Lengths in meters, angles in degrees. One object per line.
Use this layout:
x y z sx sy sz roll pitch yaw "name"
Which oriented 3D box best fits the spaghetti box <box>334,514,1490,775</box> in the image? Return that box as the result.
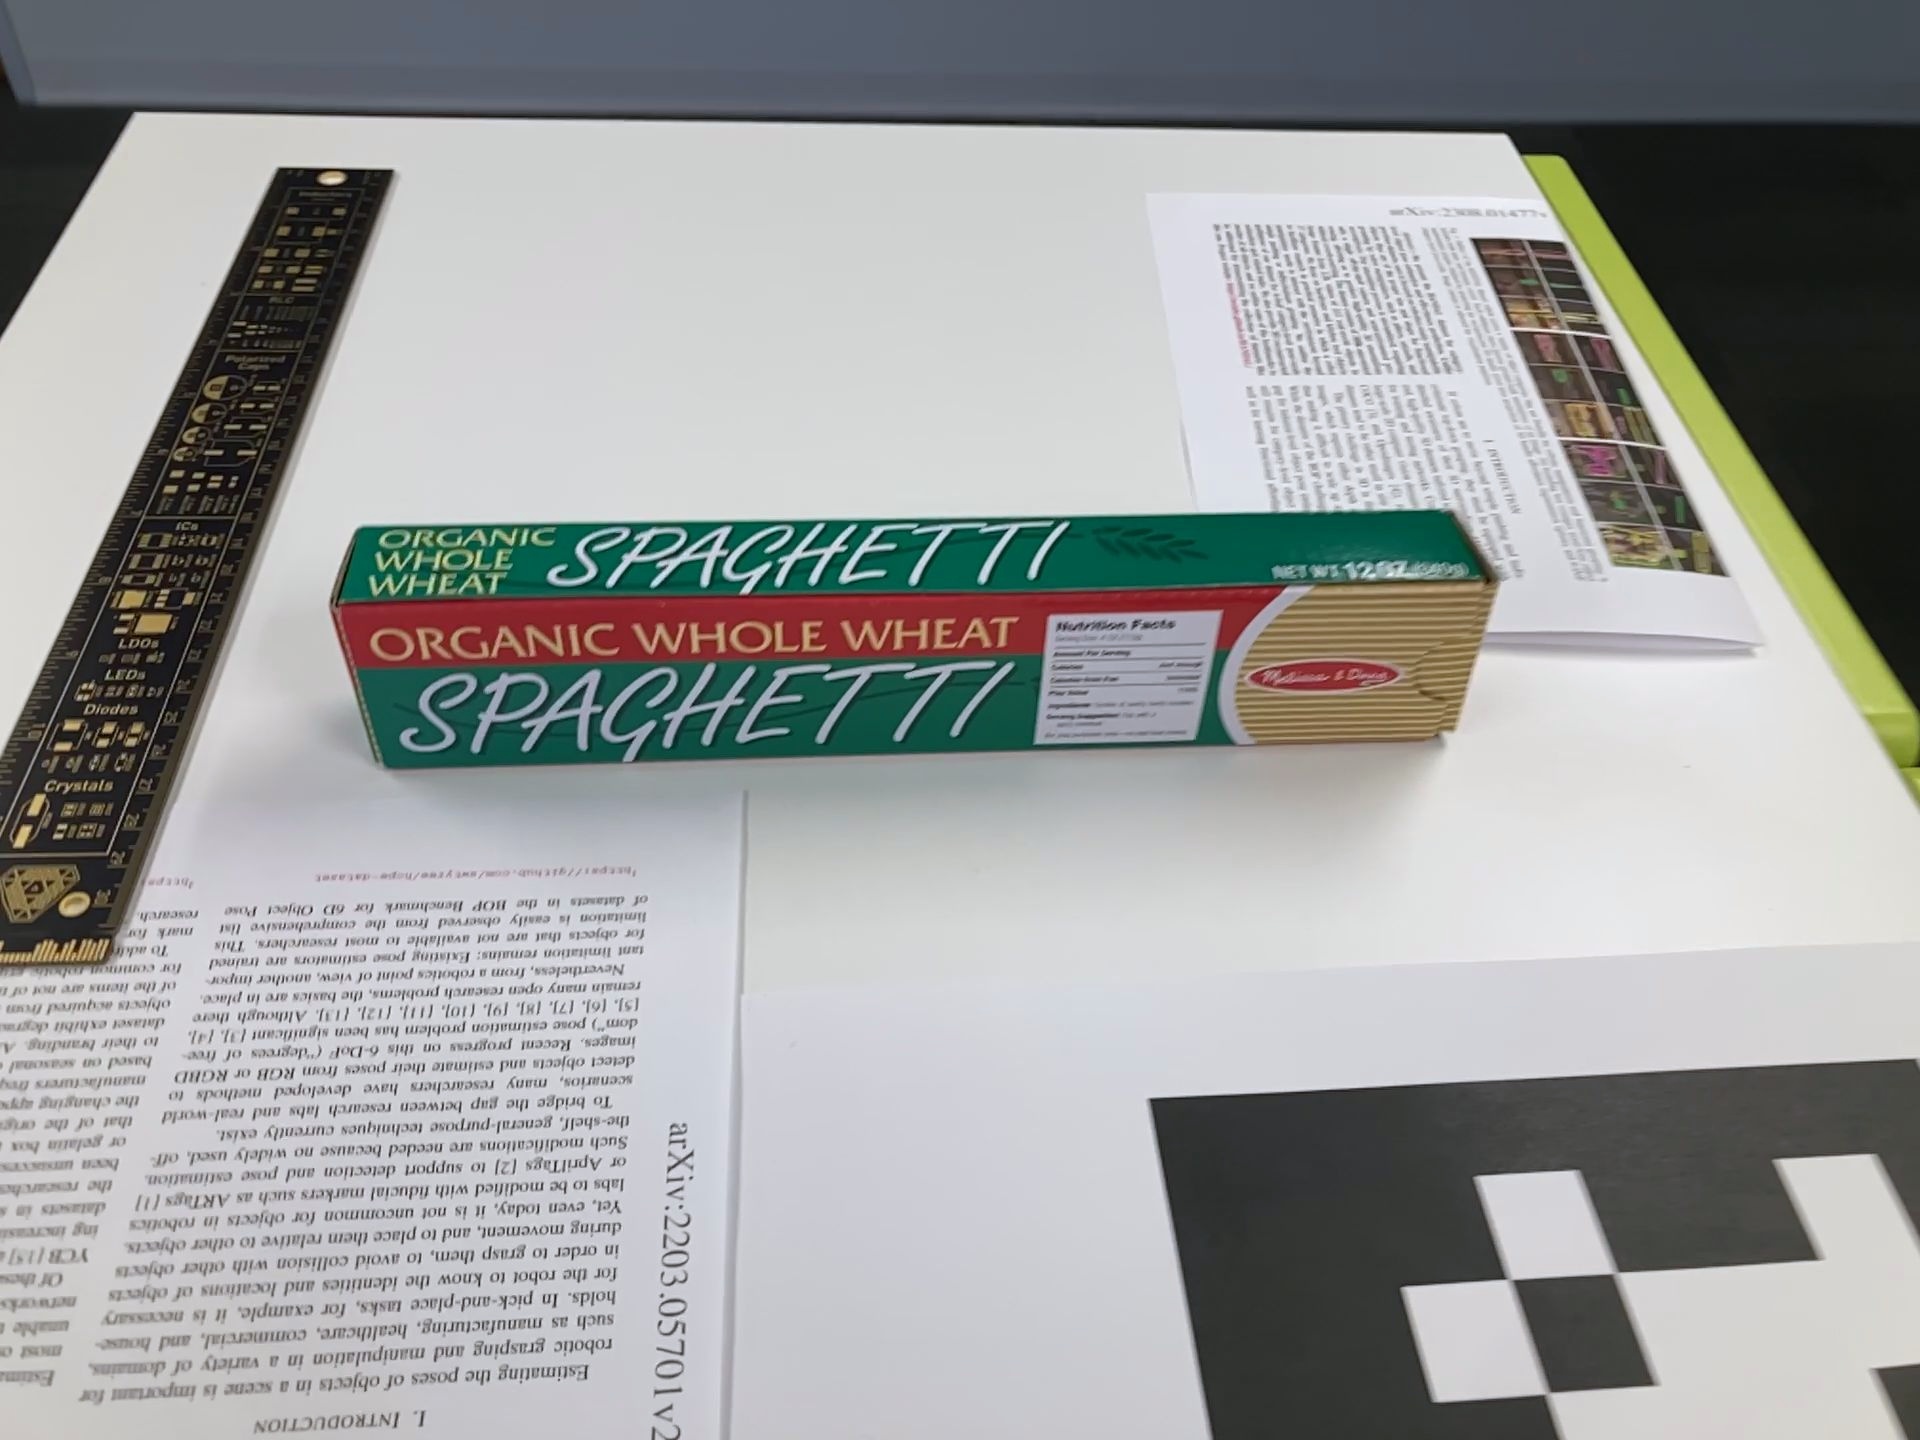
-0.009 -0.018 0.363 0.250 0.050 0.028 -2 43 -5 "spaghetti box"
